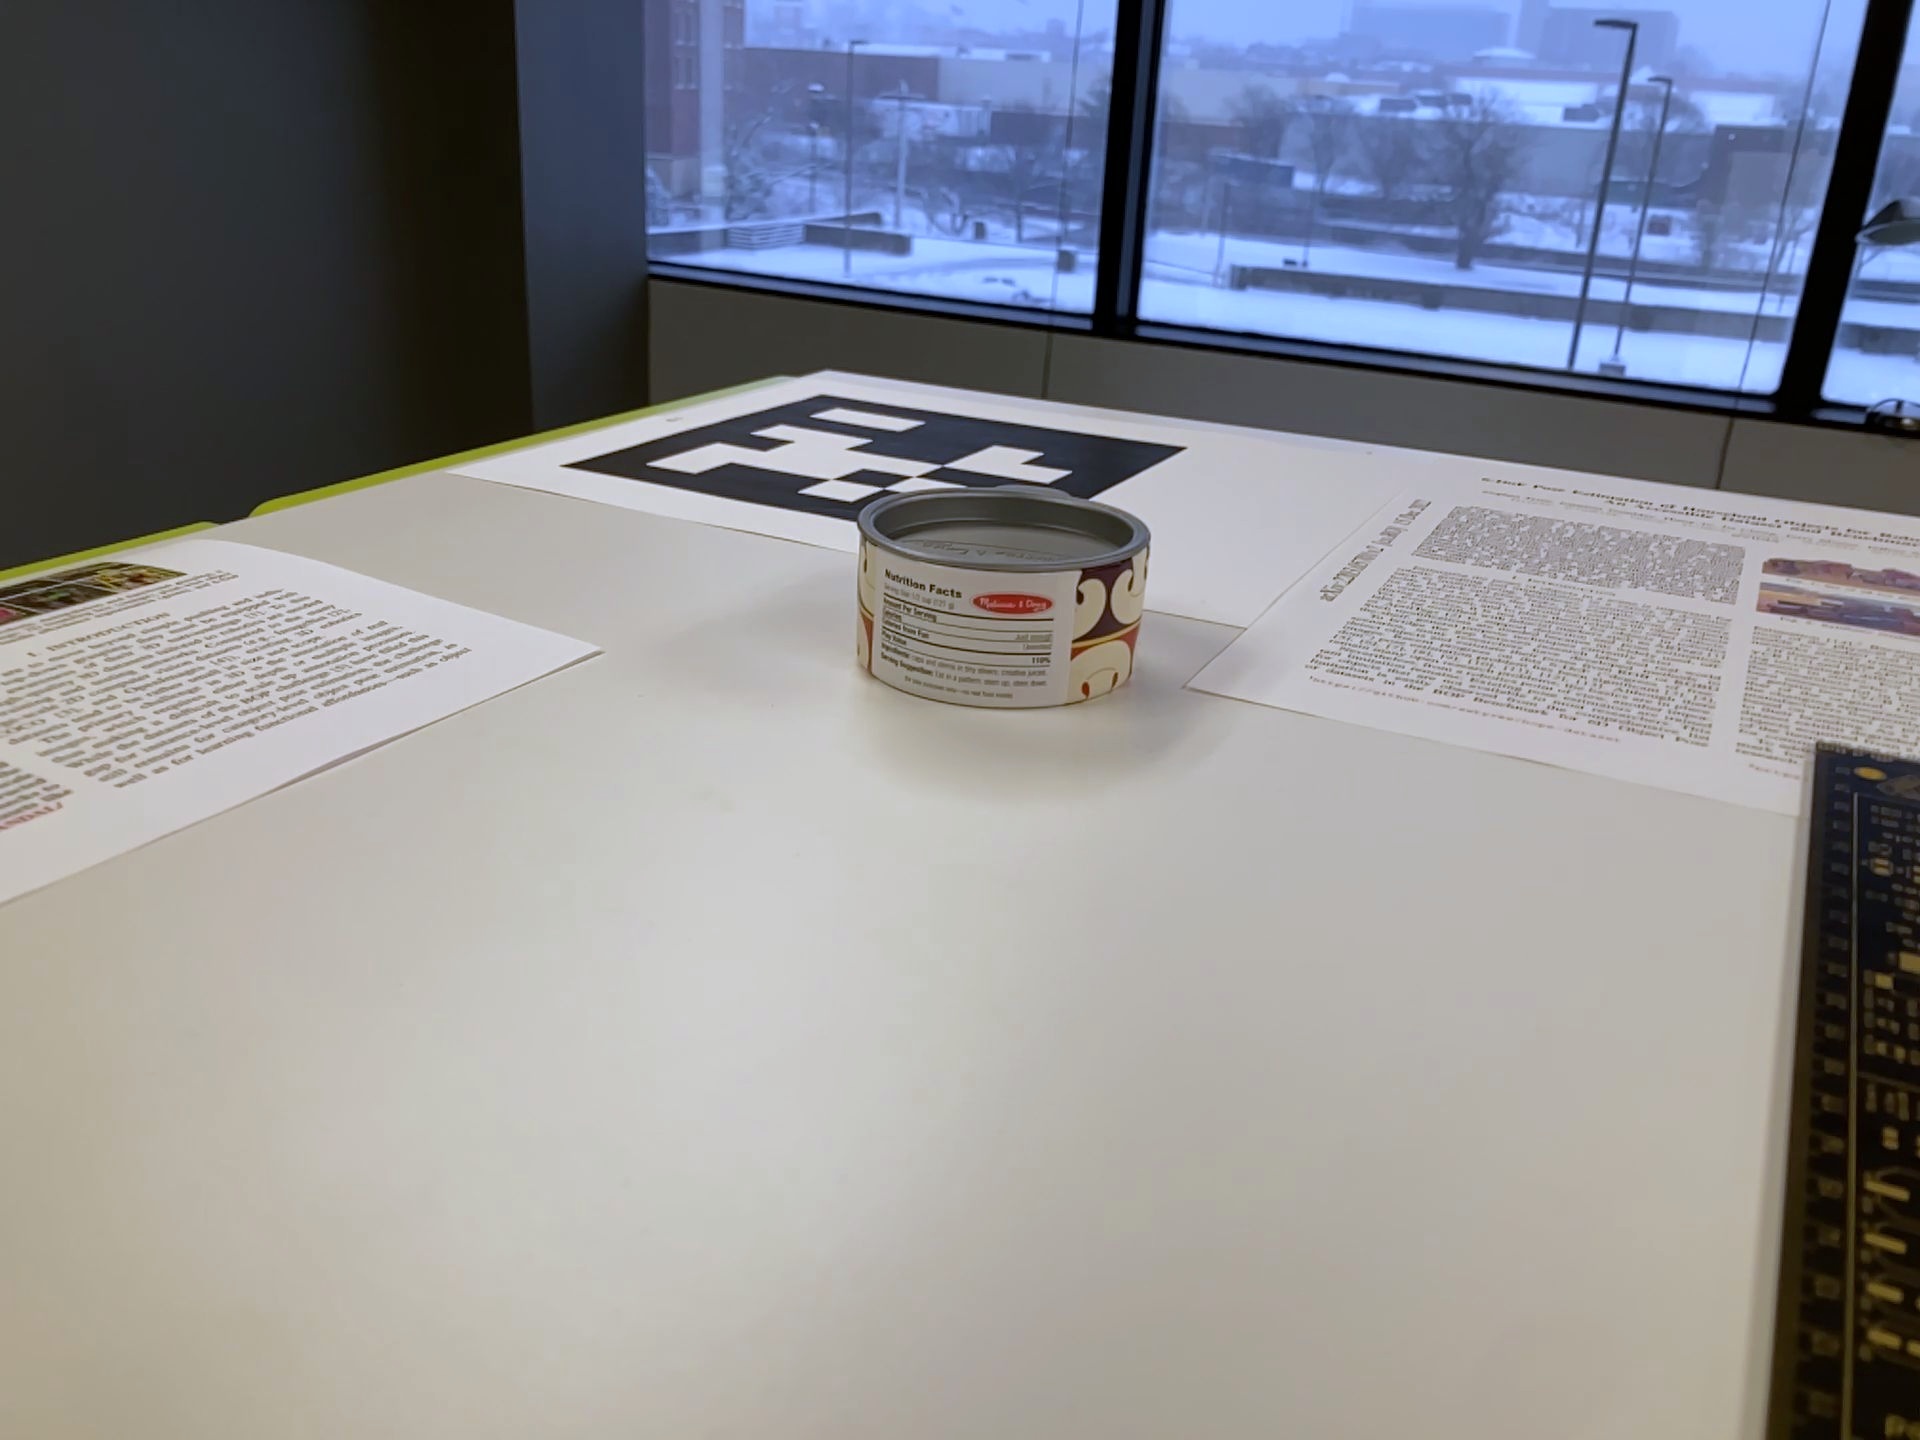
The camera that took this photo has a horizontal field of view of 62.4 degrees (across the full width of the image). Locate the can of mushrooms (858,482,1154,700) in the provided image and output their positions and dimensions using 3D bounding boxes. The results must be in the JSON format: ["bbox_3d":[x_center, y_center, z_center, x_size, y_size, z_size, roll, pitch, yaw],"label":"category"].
[{"bbox_3d":[0.010,-0.031,0.362,0.071,0.033,0.071,2,21,-1],"label":"can of mushrooms"}]
